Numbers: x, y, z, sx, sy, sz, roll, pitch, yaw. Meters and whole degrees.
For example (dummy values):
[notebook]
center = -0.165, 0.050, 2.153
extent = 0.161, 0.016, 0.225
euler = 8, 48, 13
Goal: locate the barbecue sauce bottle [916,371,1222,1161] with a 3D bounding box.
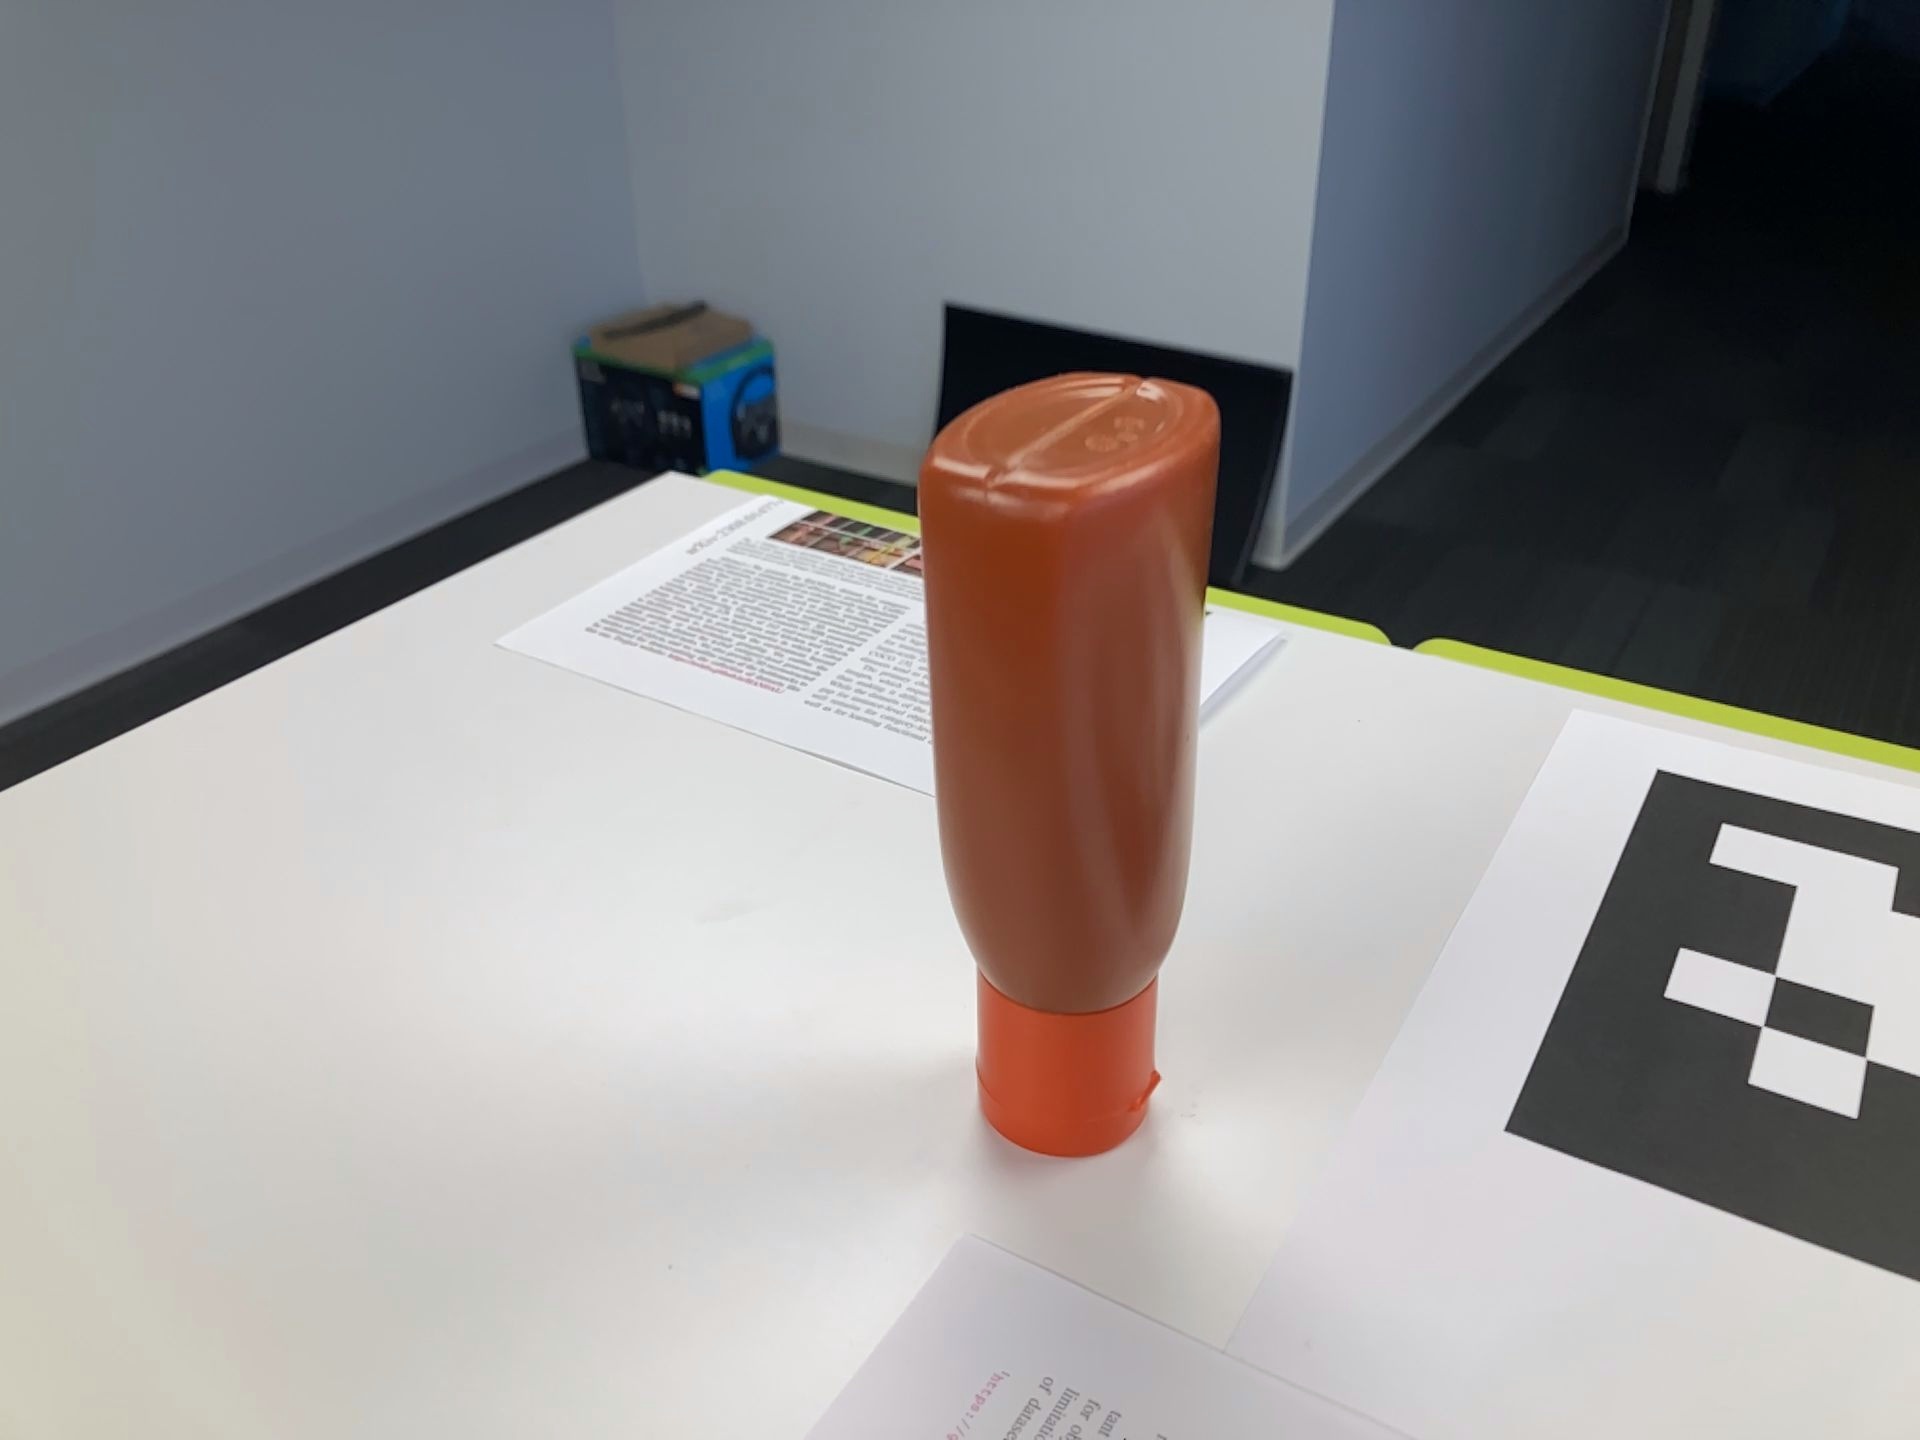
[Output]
[barbecue sauce bottle]
center = 0.020, 0.015, 0.295
extent = 0.043, 0.148, 0.065
euler = 15, 33, 27
